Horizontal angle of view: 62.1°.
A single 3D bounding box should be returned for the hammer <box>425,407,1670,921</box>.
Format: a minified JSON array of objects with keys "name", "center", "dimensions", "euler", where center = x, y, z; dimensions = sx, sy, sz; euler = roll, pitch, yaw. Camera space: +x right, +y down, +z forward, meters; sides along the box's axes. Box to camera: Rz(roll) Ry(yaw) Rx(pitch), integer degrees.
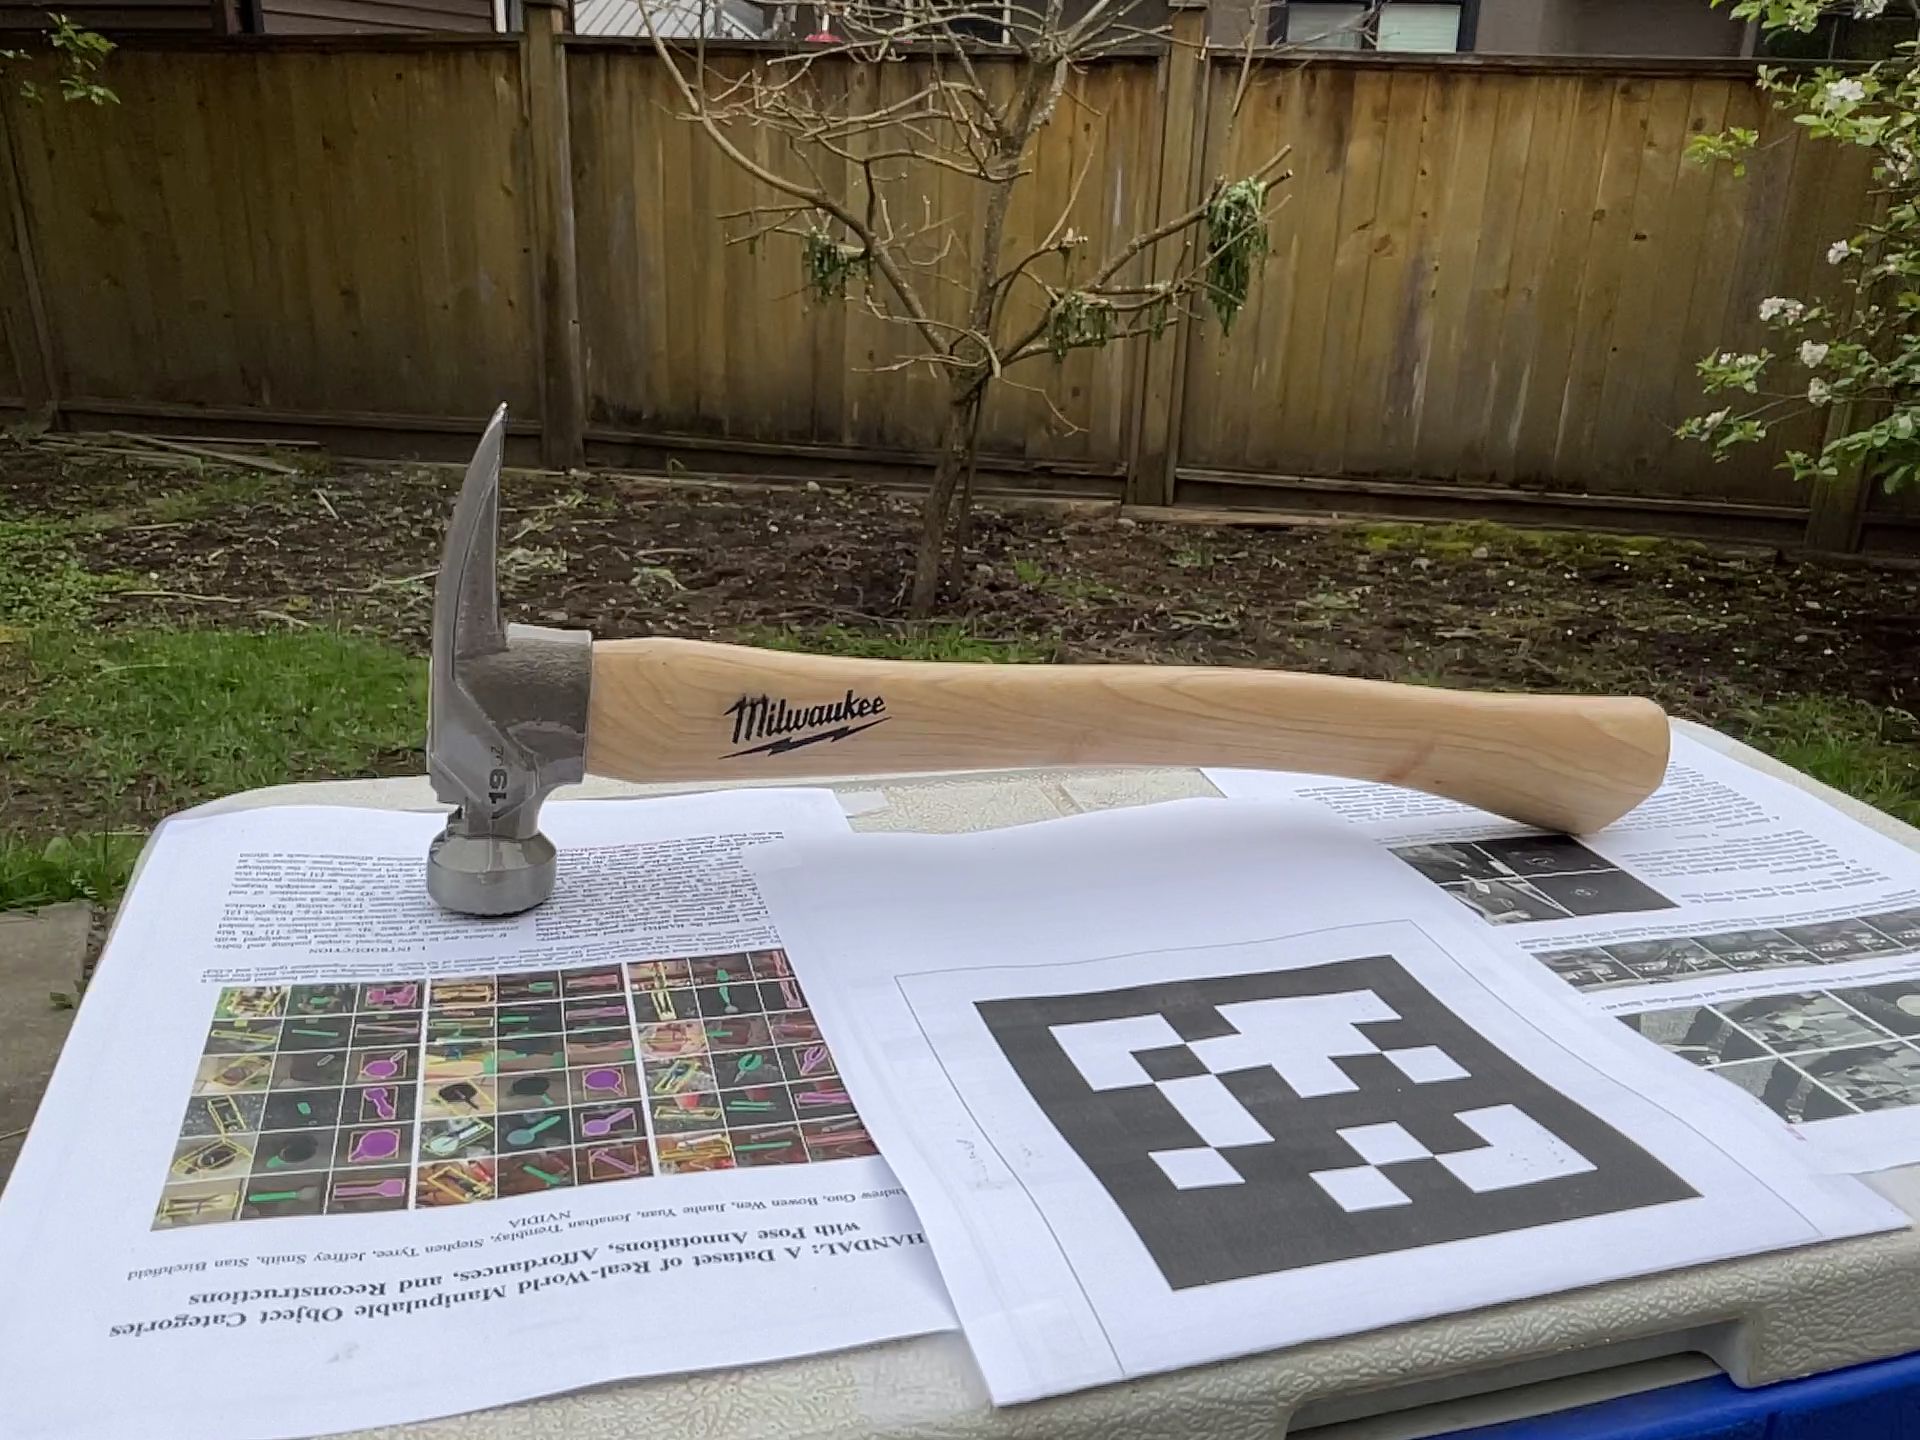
[{"name":"hammer","center":[0.046,-0.008,0.509],"dimensions":[0.410,0.146,0.038],"euler":[2,18,-16]}]
